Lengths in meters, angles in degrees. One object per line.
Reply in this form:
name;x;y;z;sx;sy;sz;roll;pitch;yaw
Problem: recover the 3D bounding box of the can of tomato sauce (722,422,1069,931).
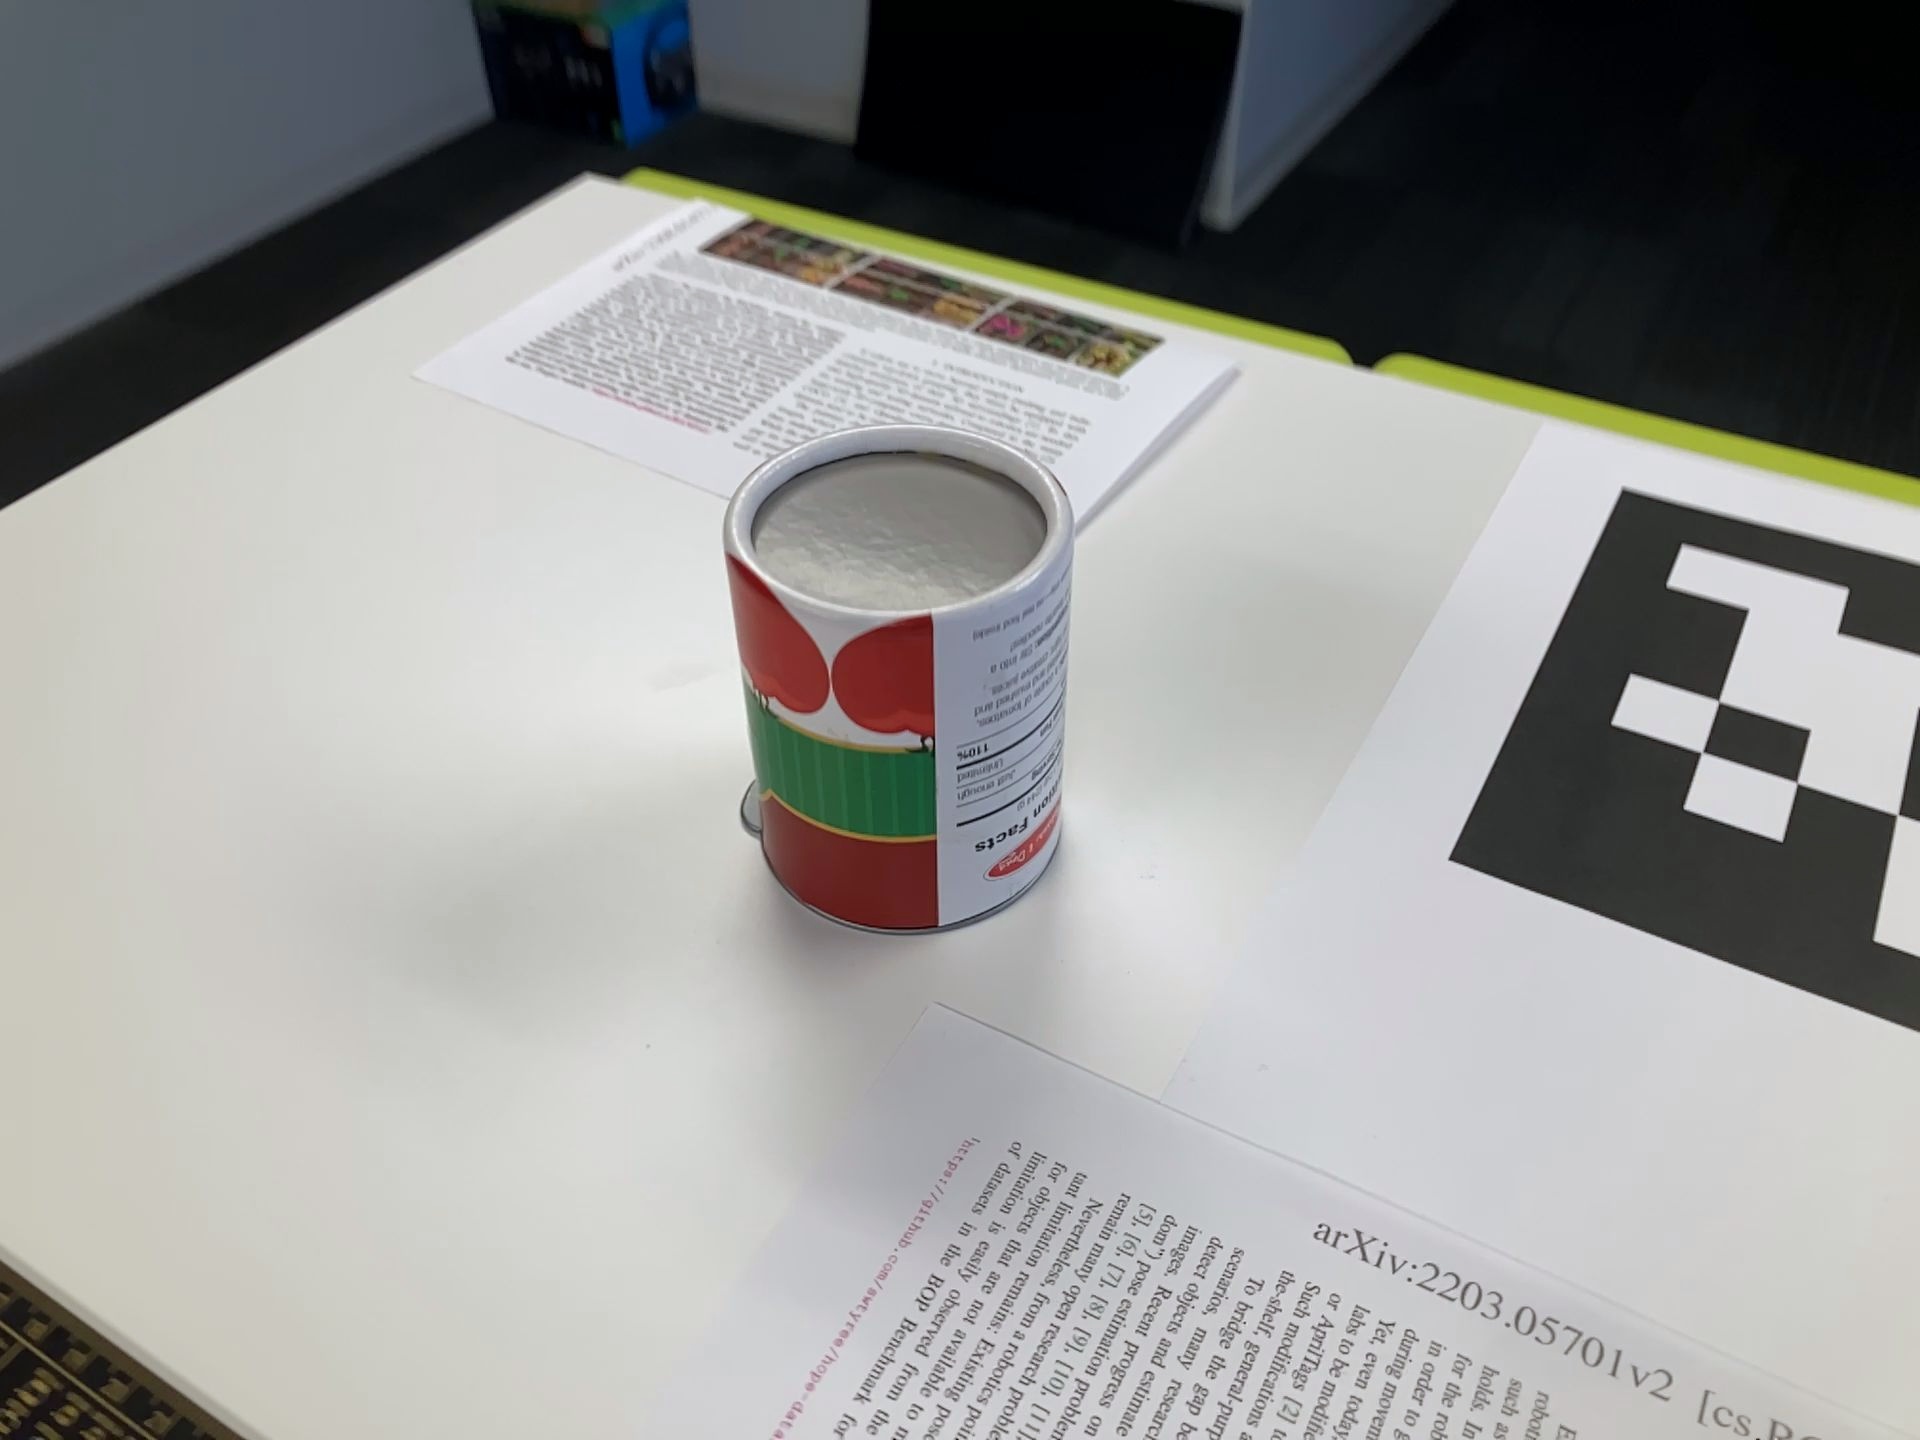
can of tomato sauce;-0.013;-0.009;0.327;0.071;0.083;0.071;-2;43;1
